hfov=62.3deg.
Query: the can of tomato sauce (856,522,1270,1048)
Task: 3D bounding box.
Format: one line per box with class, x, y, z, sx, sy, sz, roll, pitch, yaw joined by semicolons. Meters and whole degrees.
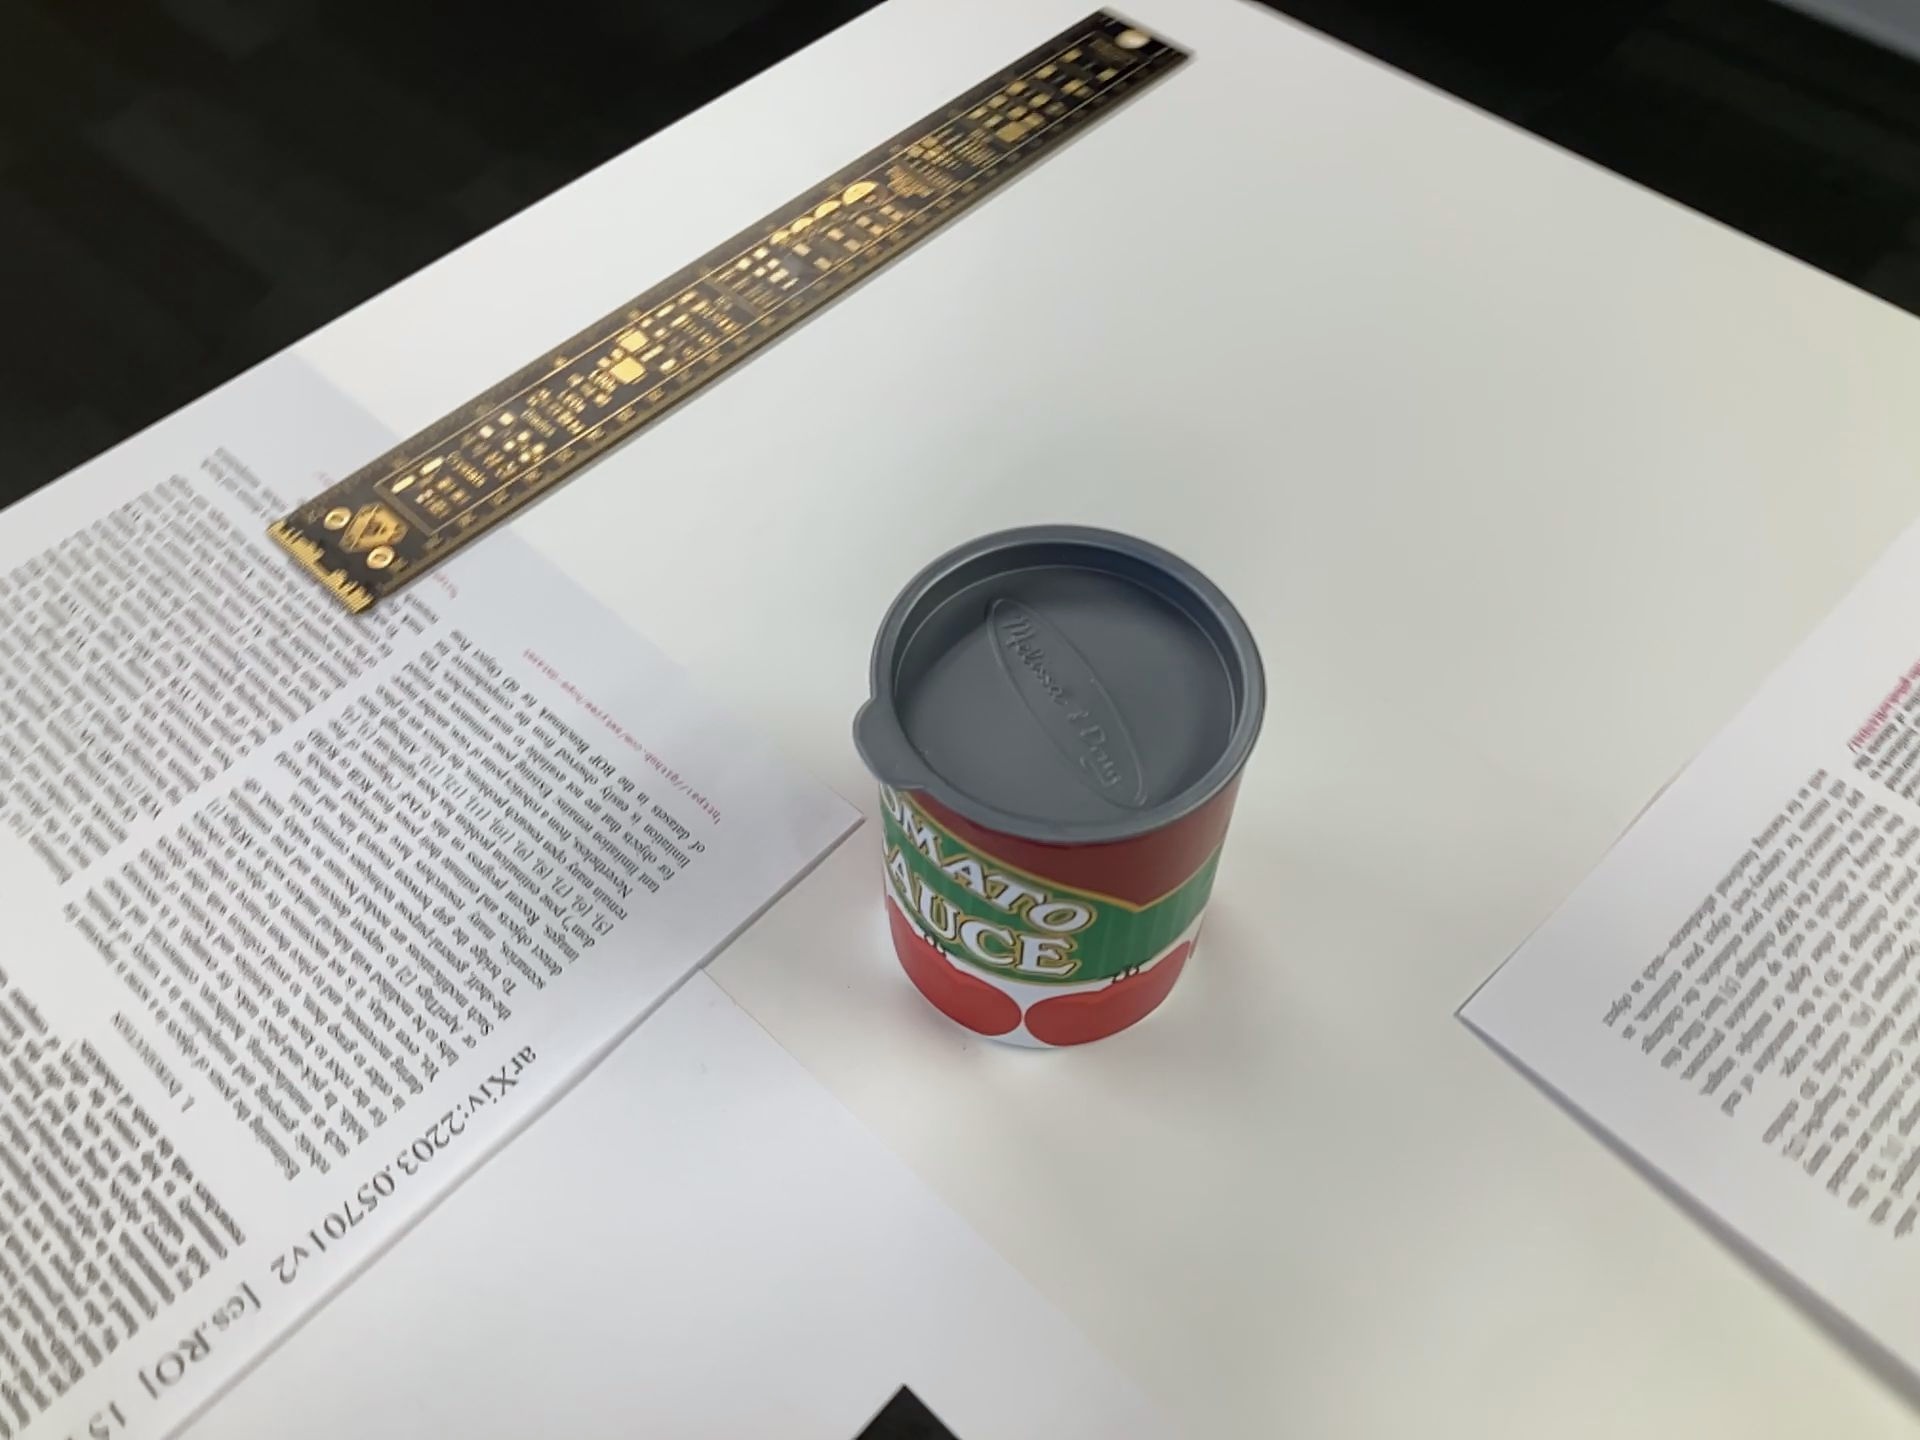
can of tomato sauce;0.017;0.016;0.298;0.071;0.083;0.071;0;55;0
